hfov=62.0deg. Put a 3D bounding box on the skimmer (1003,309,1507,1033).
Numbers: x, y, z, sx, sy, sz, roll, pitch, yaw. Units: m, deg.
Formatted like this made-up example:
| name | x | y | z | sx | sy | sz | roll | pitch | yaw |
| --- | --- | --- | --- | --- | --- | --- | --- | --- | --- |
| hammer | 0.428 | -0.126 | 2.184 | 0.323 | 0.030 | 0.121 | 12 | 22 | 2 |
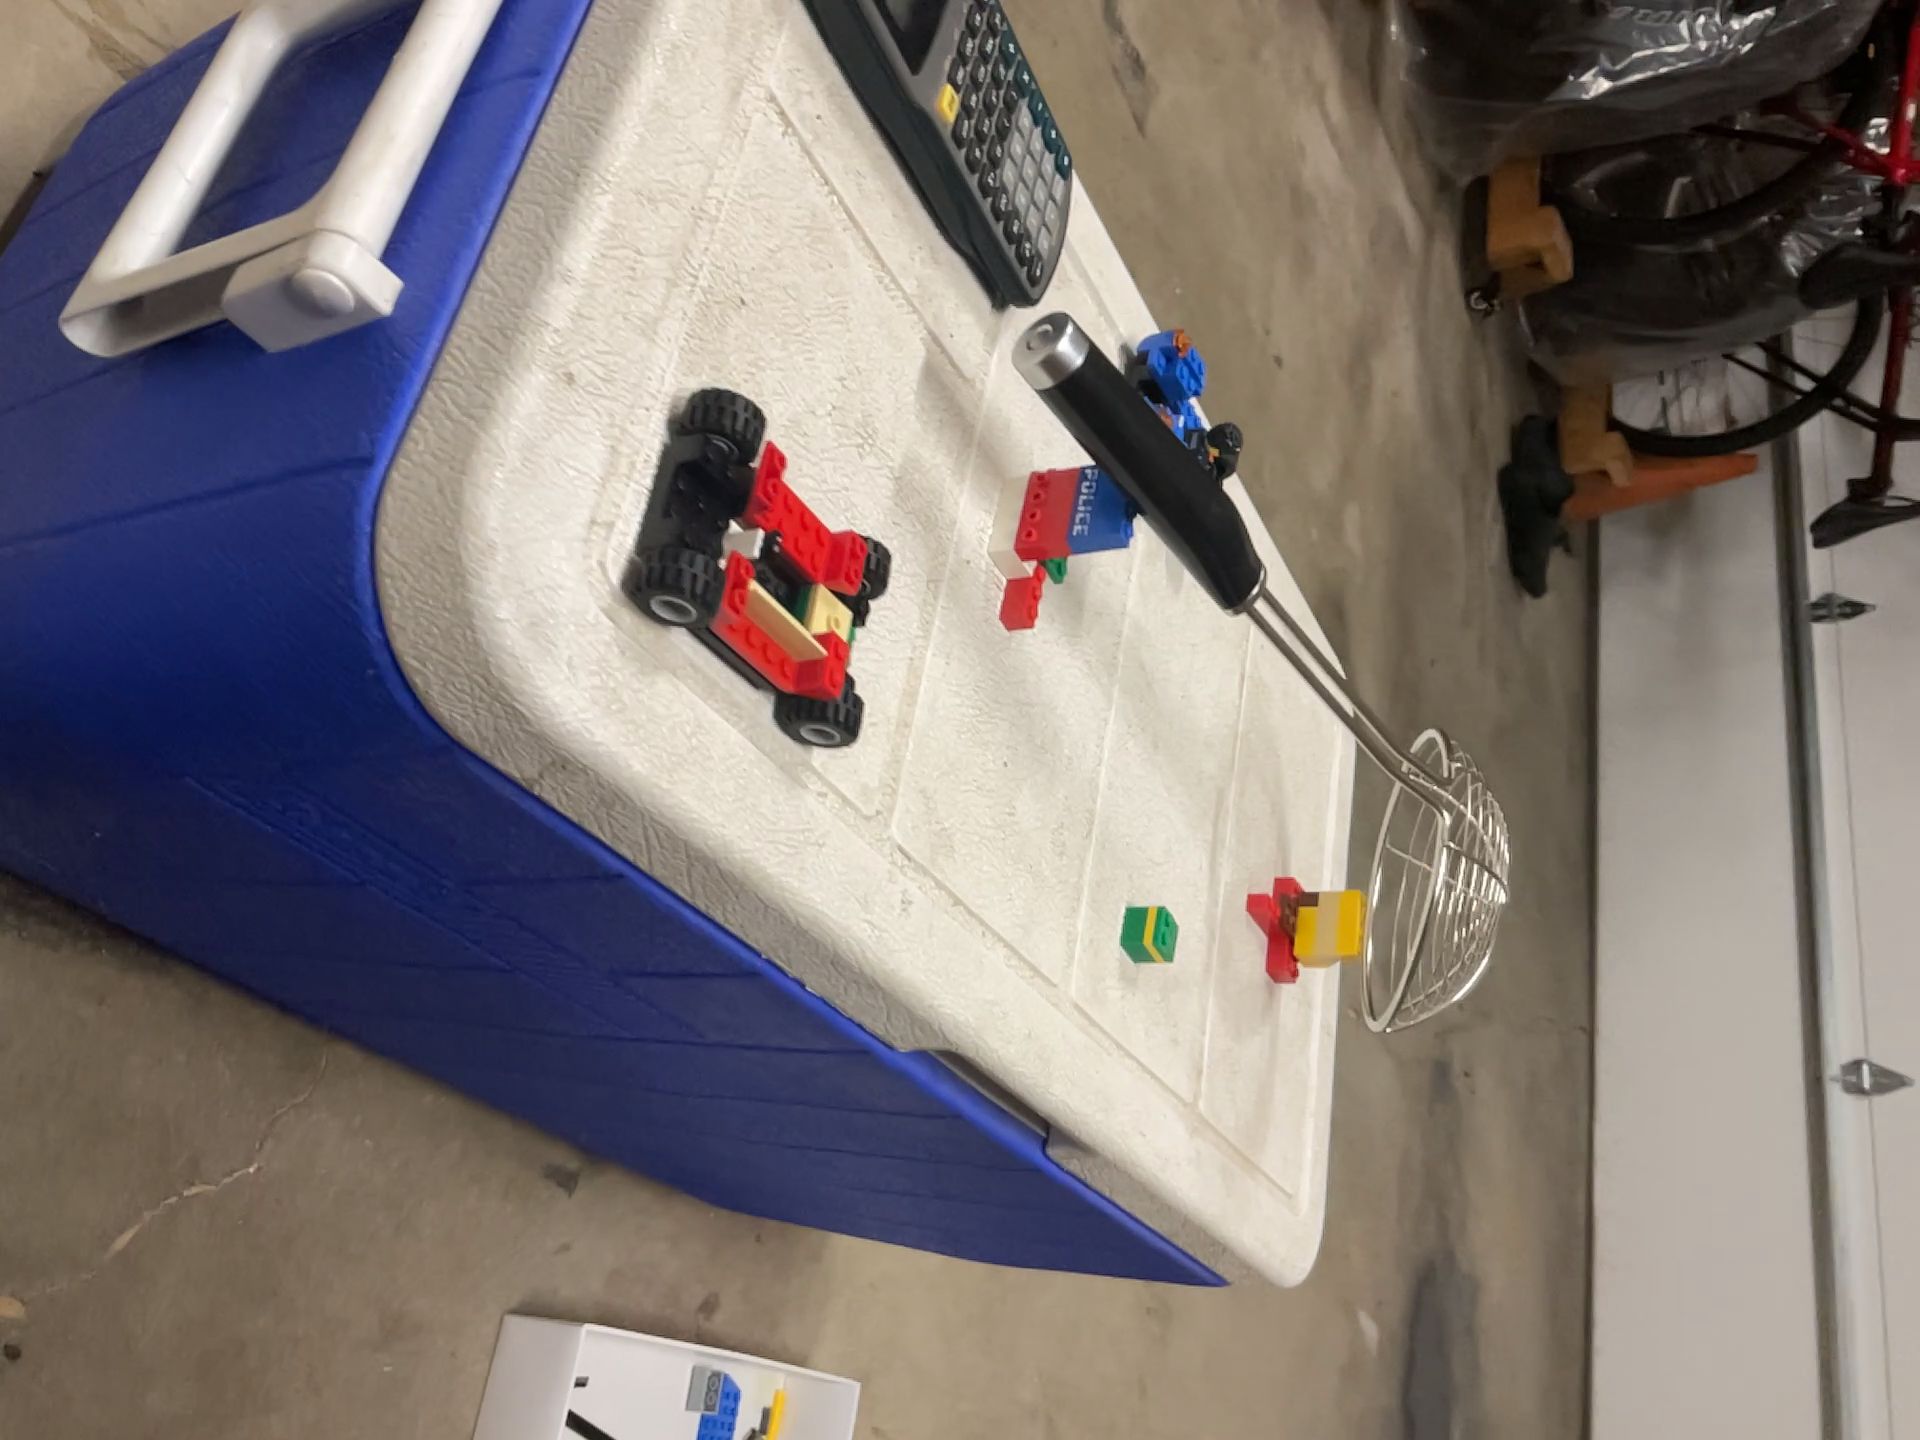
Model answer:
| name | x | y | z | sx | sy | sz | roll | pitch | yaw |
| --- | --- | --- | --- | --- | --- | --- | --- | --- | --- |
| skimmer | 0.107 | -0.006 | 0.586 | 0.363 | 0.090 | 0.128 | 42 | 49 | -35 |
